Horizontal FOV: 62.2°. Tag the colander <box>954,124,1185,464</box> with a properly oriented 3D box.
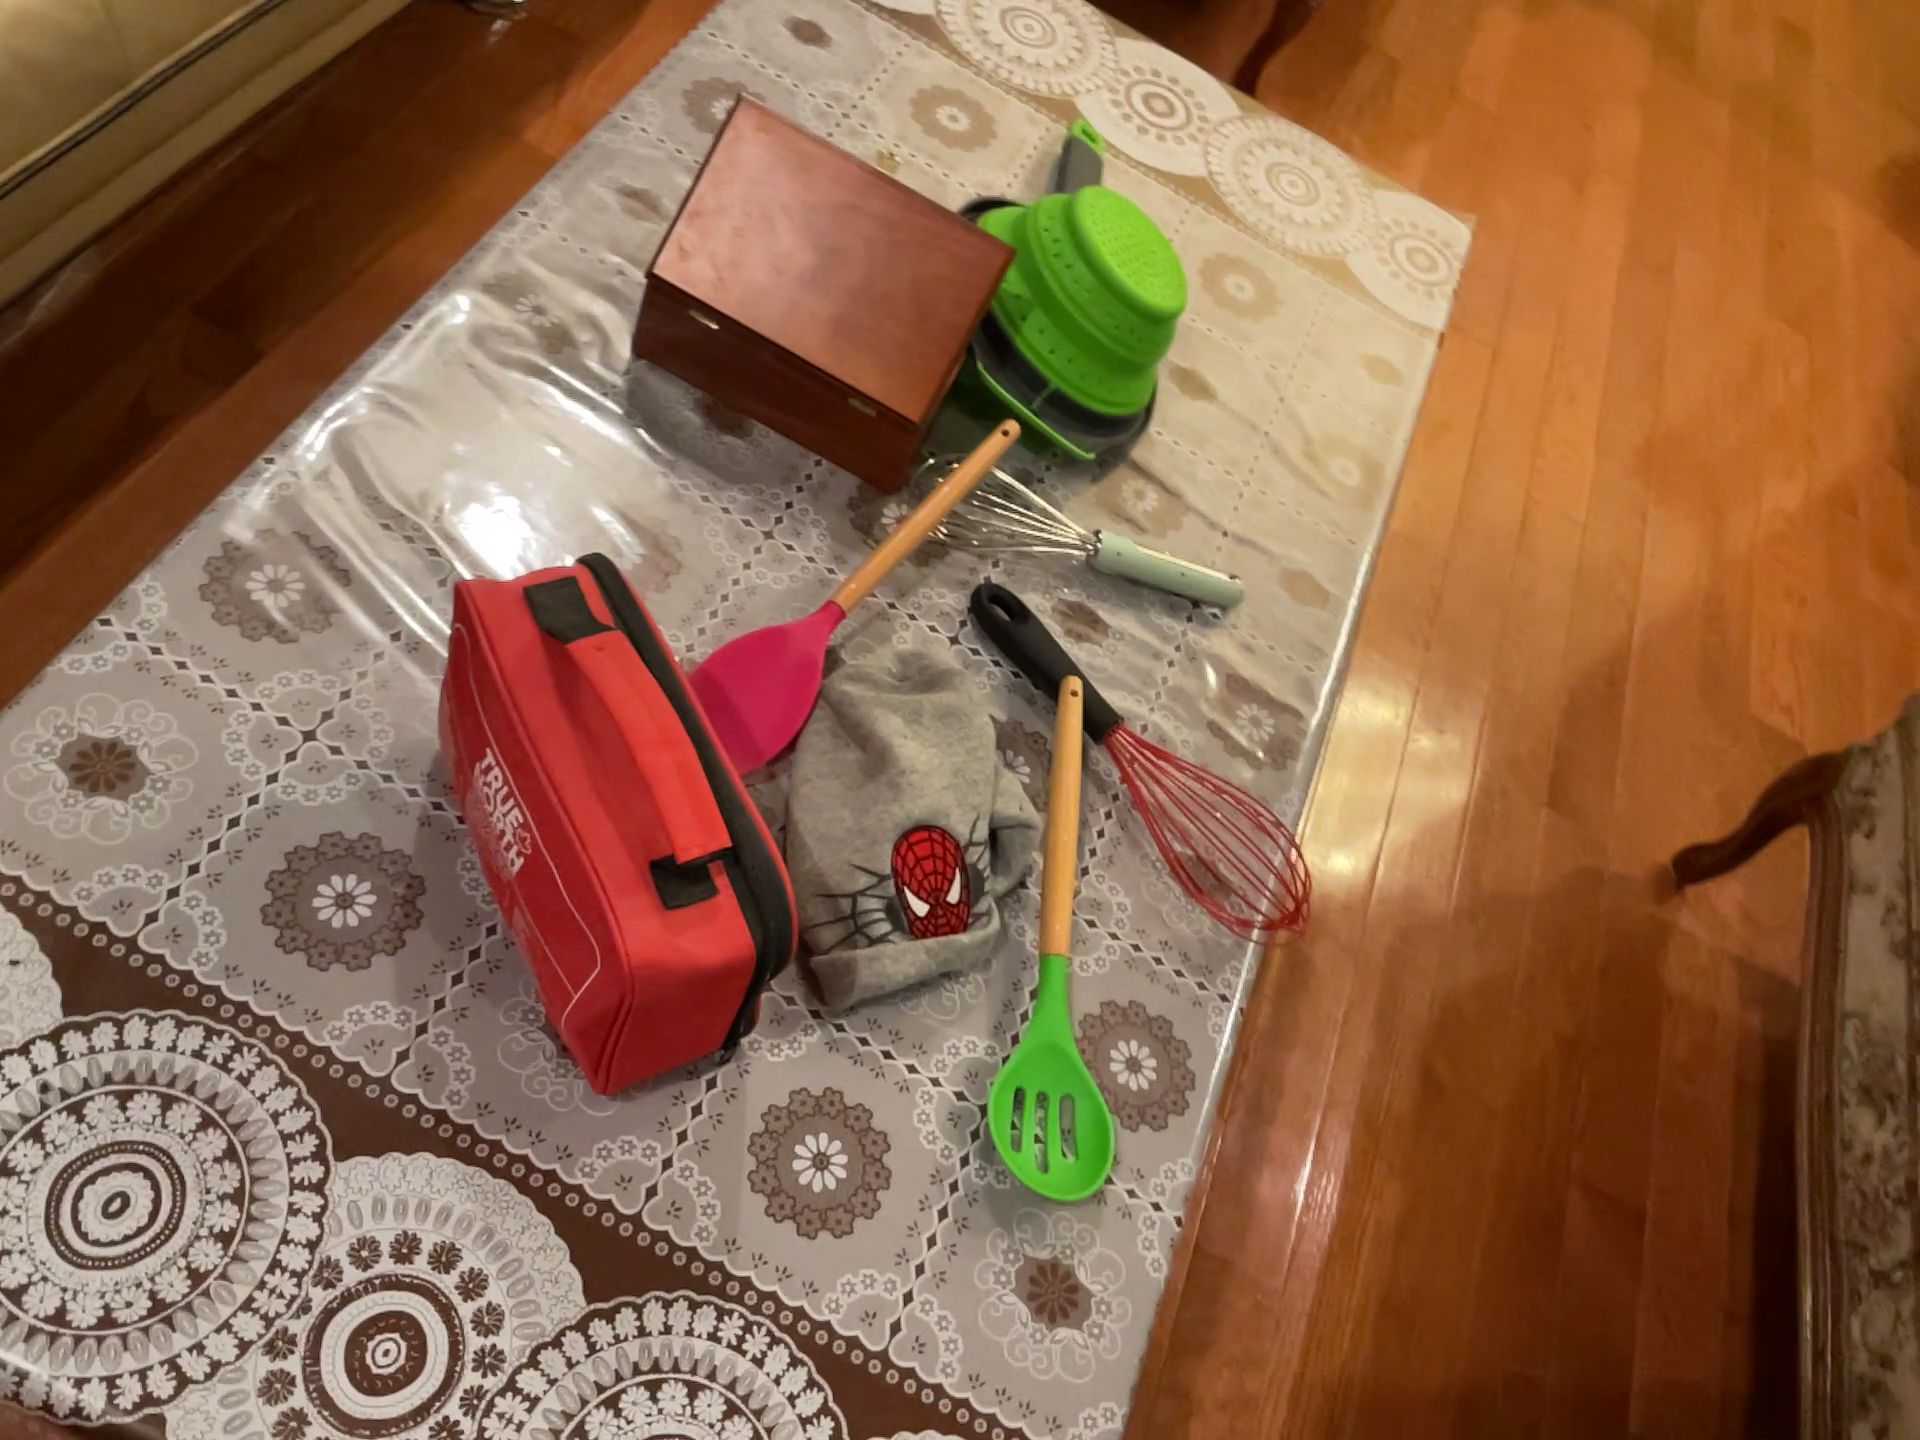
[{"bbox_3d":[0.099,-0.355,1.159,0.204,0.094,0.398,35,42,-23],"label":"colander"}]

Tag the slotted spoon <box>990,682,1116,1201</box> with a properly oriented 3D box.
[{"bbox_3d":[0.056,0.112,0.885,0.070,0.031,0.314,14,57,-14],"label":"slotted spoon"}]

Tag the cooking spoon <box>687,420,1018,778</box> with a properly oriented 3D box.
[{"bbox_3d":[-0.059,-0.081,0.950,0.069,0.017,0.319,39,63,3],"label":"cooking spoon"}]

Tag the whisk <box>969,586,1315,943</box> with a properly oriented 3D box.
[{"bbox_3d":[0.104,0.021,0.964,0.073,0.073,0.296,-31,68,-29],"label":"whisk"}]

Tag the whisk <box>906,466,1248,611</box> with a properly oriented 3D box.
[{"bbox_3d":[0.080,-0.114,1.055,0.246,0.059,0.058,15,96,-16],"label":"whisk"}]
